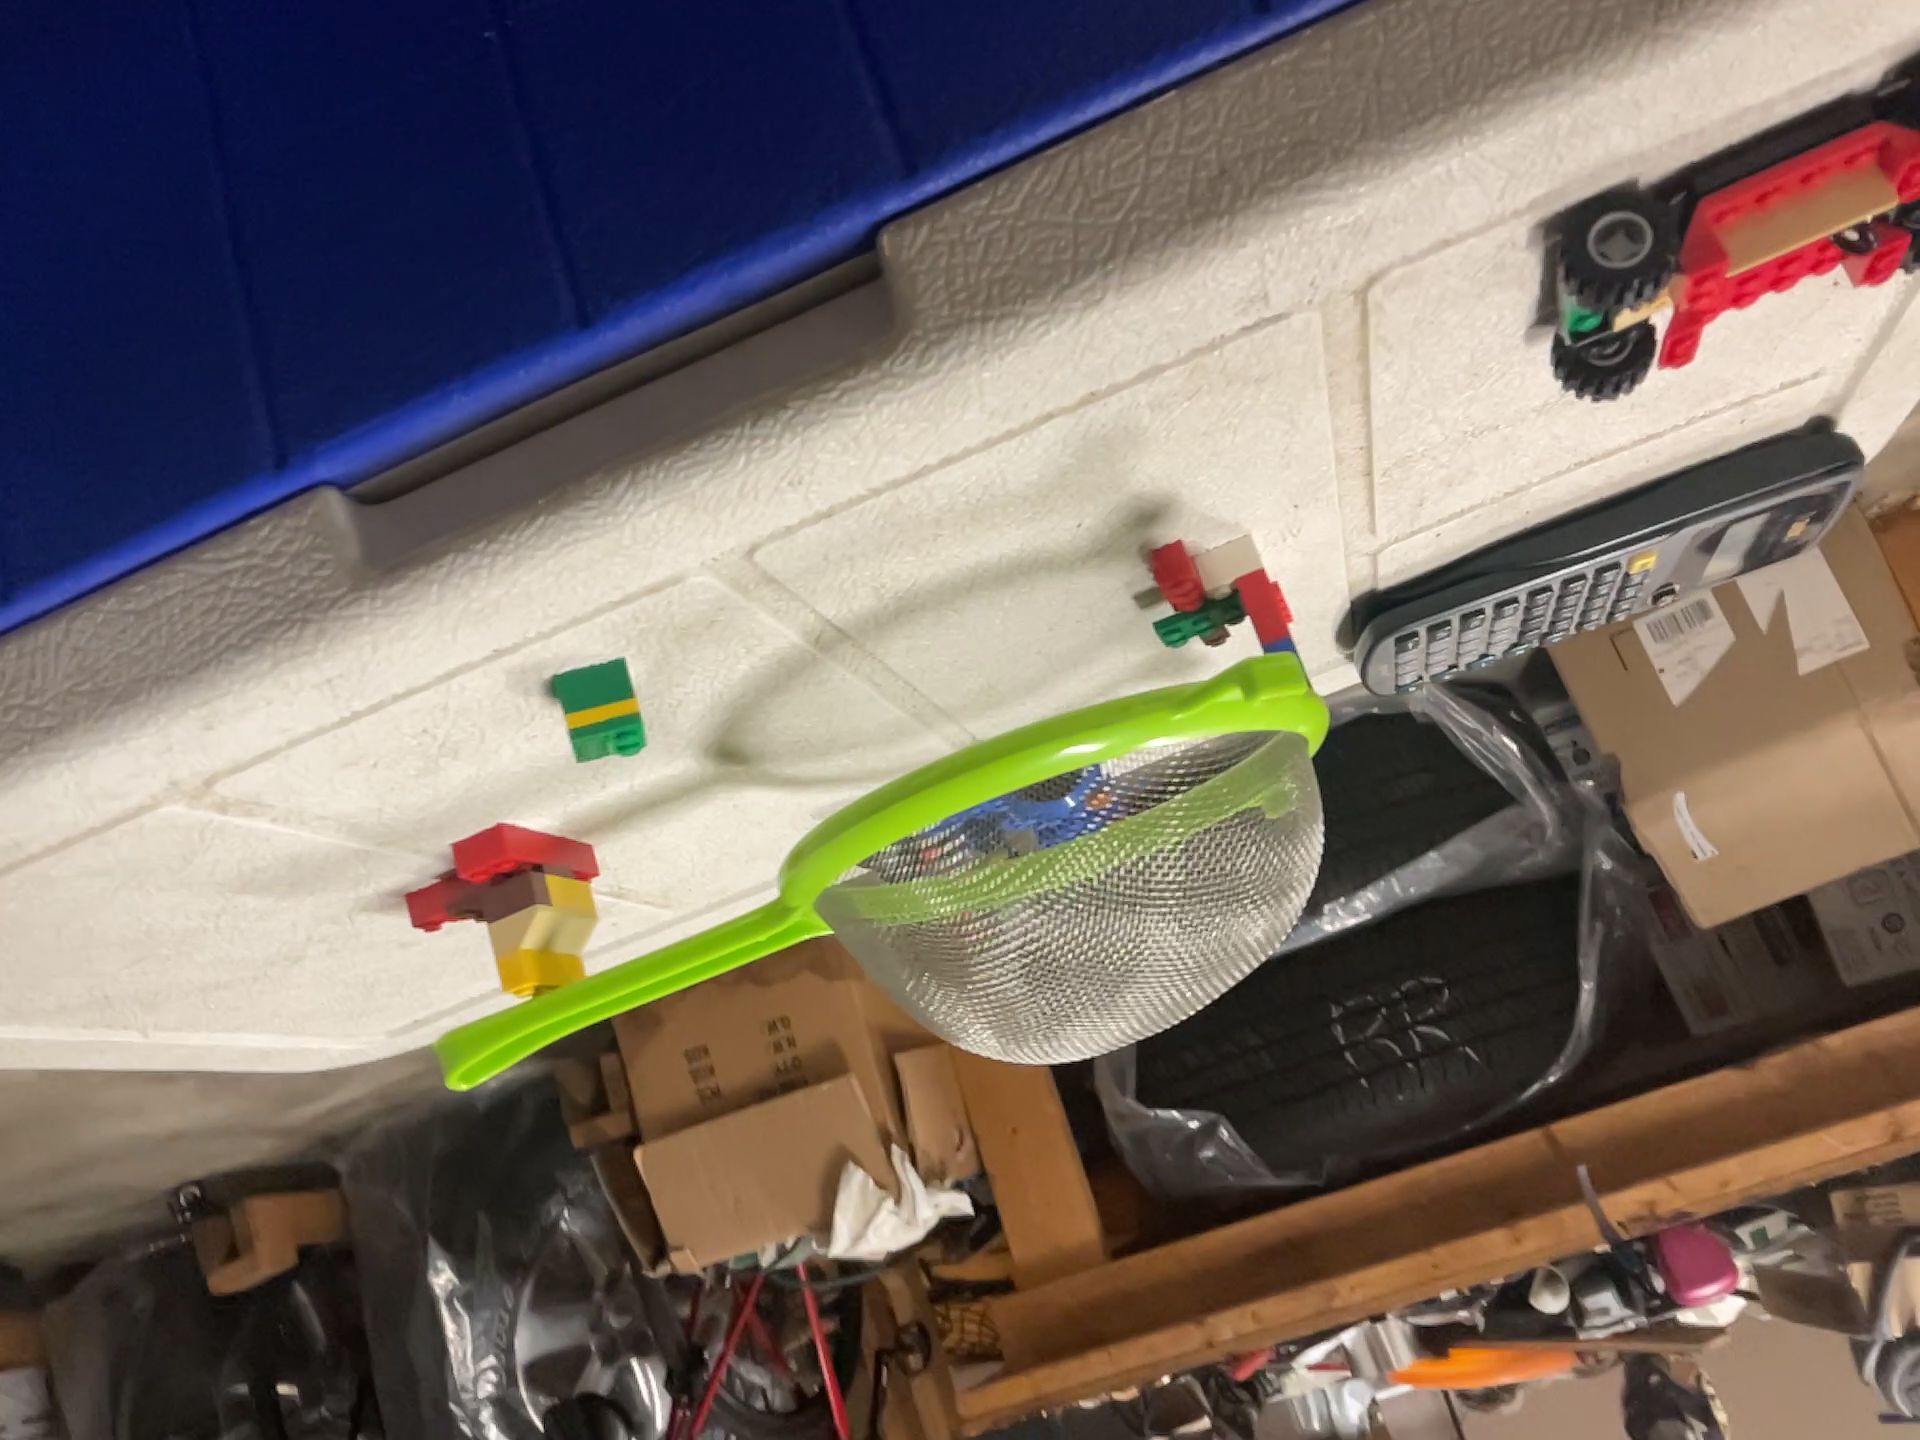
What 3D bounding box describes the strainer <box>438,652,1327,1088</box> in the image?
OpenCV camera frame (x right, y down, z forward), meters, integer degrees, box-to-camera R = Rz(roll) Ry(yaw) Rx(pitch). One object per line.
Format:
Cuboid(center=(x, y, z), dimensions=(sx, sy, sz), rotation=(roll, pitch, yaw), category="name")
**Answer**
Cuboid(center=(-0.015, 0.068, 0.420), dimensions=(0.256, 0.069, 0.151), rotation=(-22, 164, 7), category="strainer")
